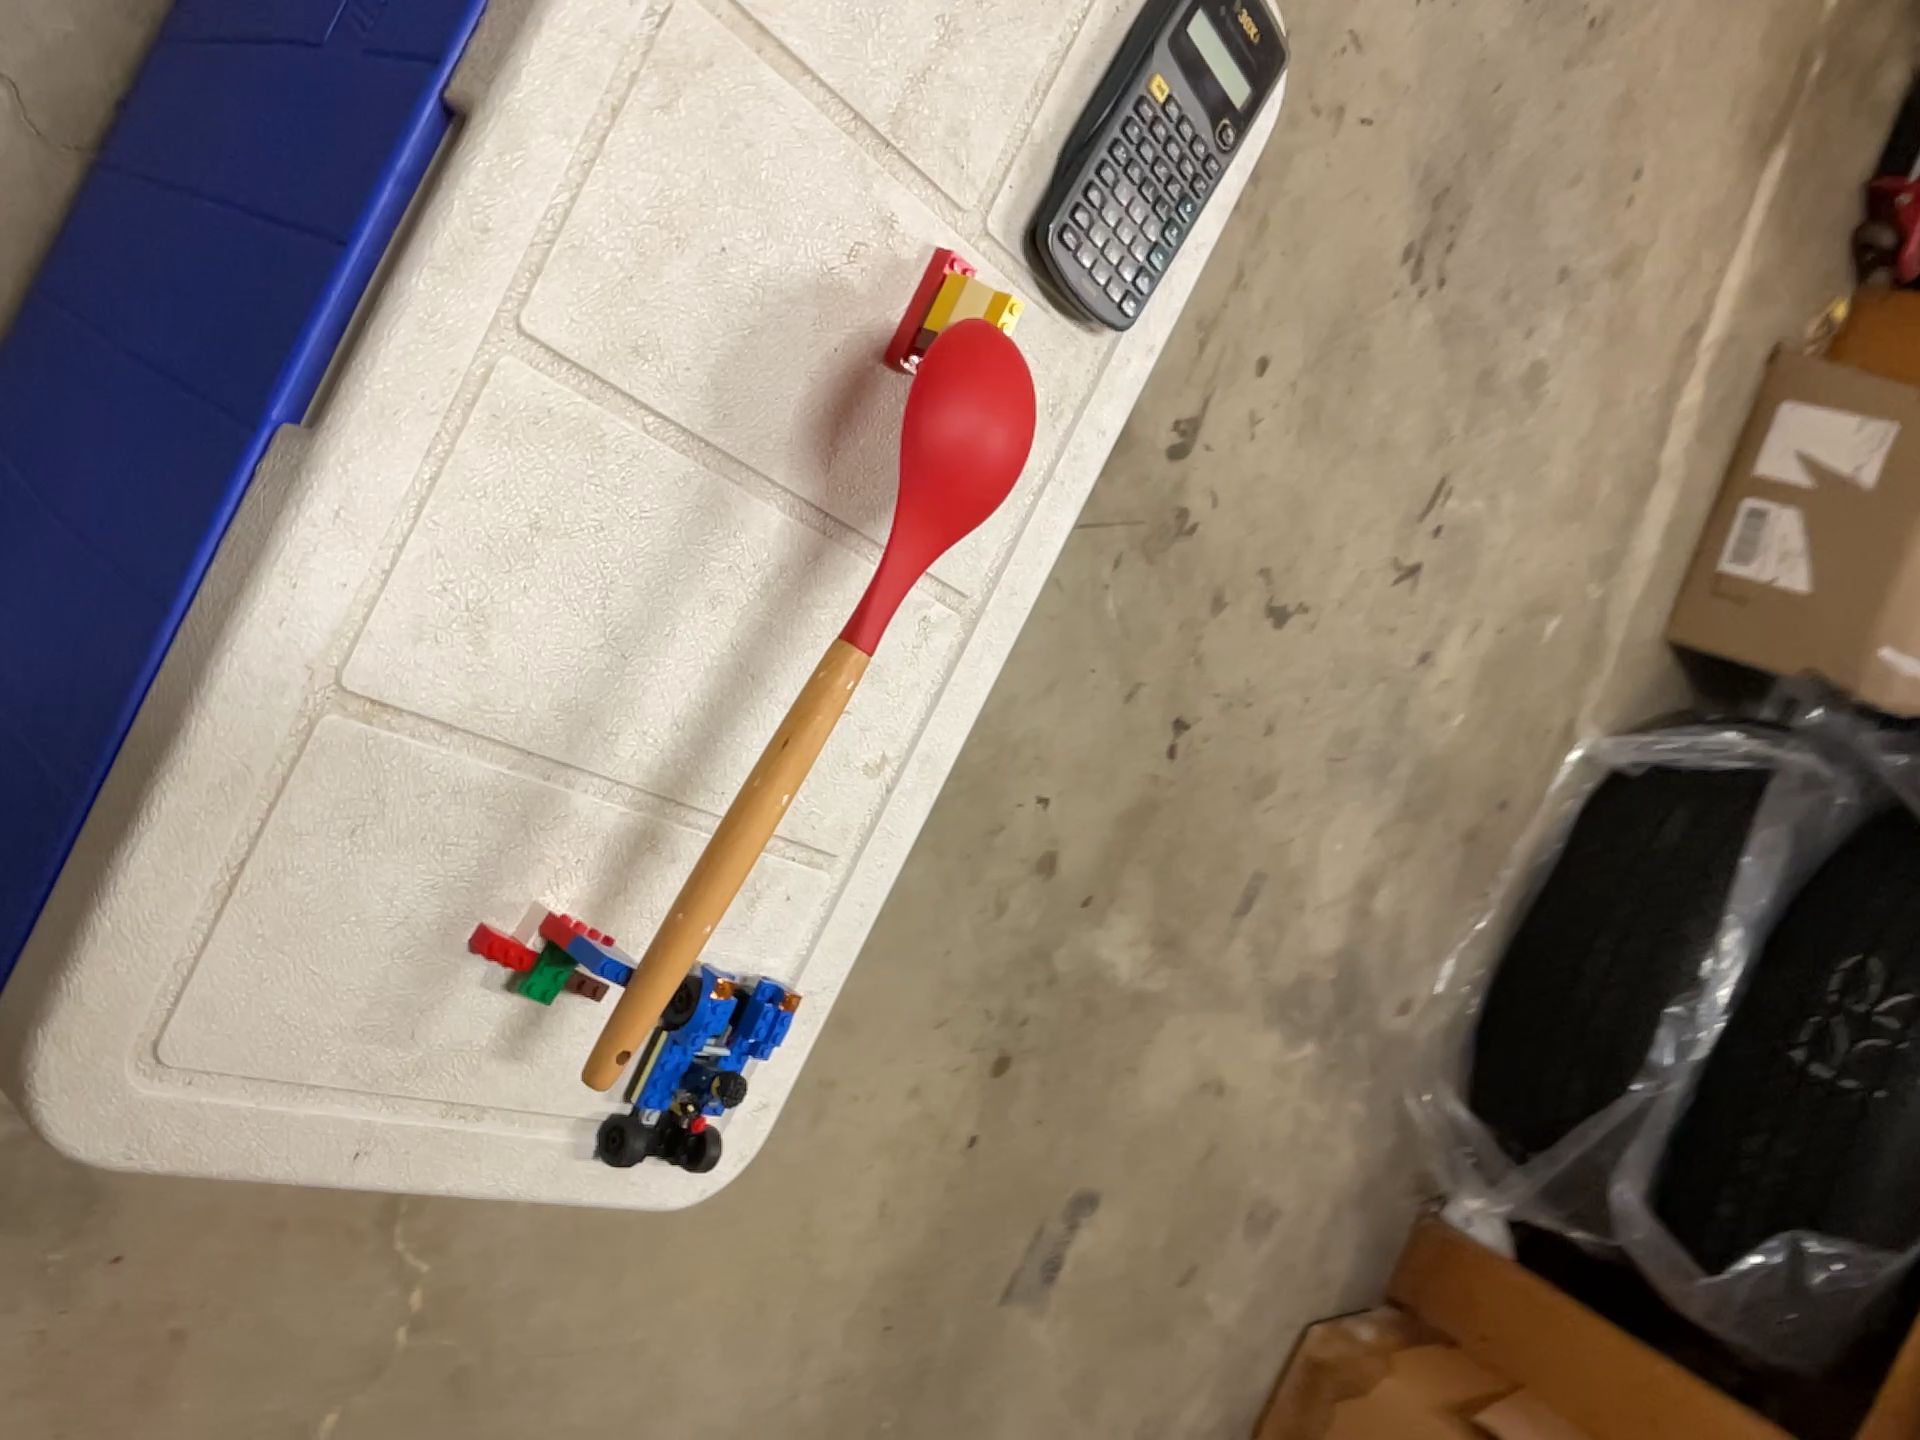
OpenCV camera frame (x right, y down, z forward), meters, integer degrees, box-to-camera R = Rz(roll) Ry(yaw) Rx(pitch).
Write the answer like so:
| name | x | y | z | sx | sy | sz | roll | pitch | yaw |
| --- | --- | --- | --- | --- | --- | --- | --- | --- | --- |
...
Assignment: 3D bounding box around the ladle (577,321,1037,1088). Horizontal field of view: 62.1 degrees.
| name | x | y | z | sx | sy | sz | roll | pitch | yaw |
| --- | --- | --- | --- | --- | --- | --- | --- | --- | --- |
| ladle | -0.054 | -0.006 | 0.585 | 0.069 | 0.031 | 0.315 | 35 | 84 | -50 |
